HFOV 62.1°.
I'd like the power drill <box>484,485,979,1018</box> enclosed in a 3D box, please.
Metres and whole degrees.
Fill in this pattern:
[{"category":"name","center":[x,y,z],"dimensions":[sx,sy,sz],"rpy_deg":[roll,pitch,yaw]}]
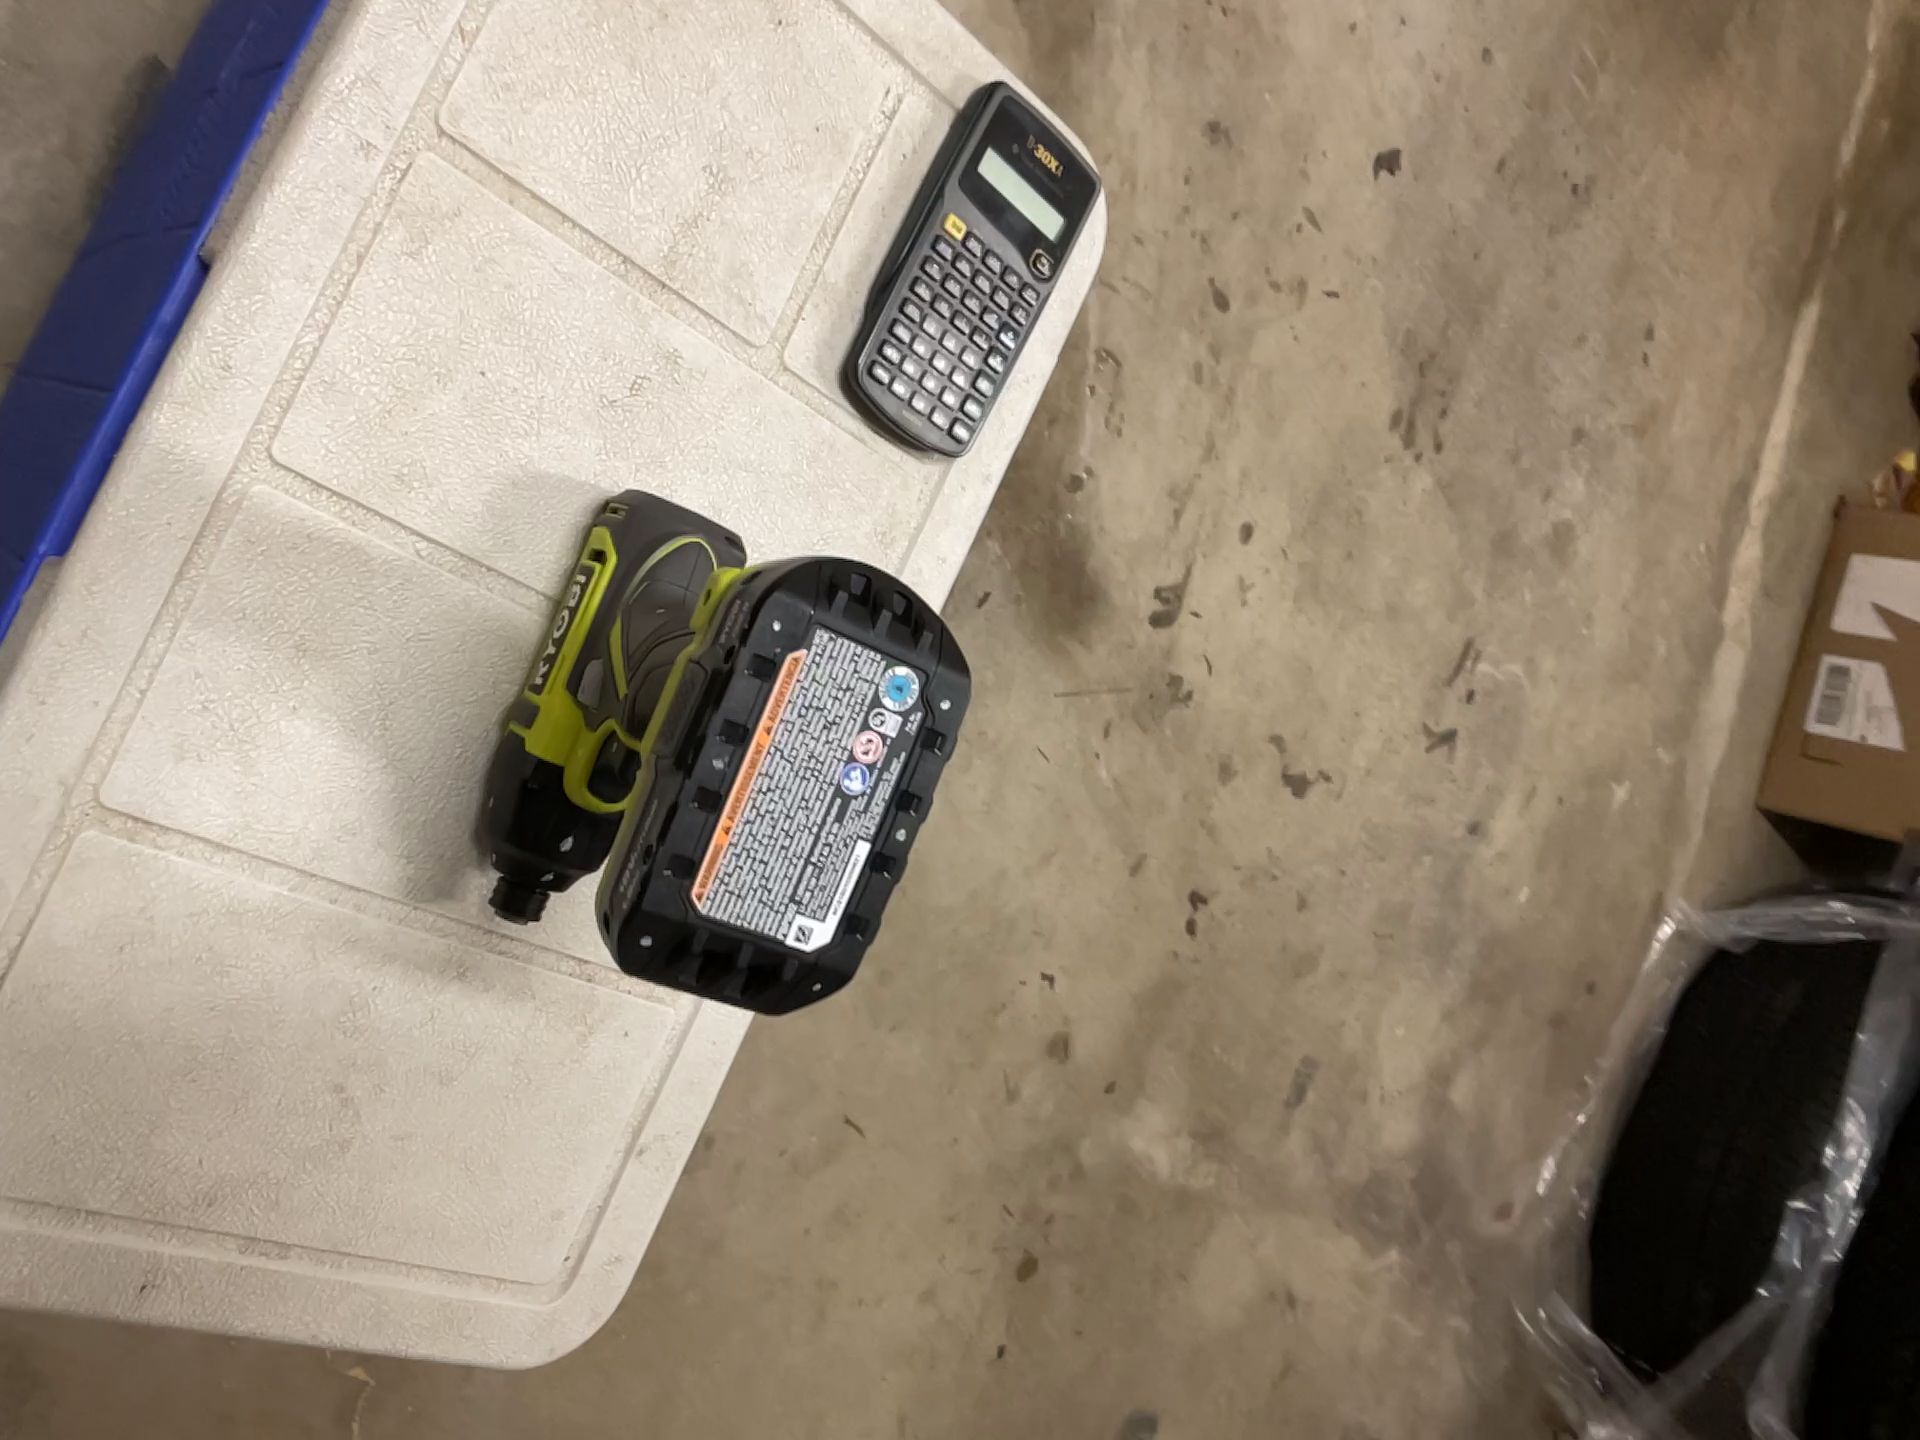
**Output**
[{"category":"power drill","center":[-0.098,0.010,0.545],"dimensions":[0.080,0.223,0.171],"rpy_deg":[24,86,-31]}]
